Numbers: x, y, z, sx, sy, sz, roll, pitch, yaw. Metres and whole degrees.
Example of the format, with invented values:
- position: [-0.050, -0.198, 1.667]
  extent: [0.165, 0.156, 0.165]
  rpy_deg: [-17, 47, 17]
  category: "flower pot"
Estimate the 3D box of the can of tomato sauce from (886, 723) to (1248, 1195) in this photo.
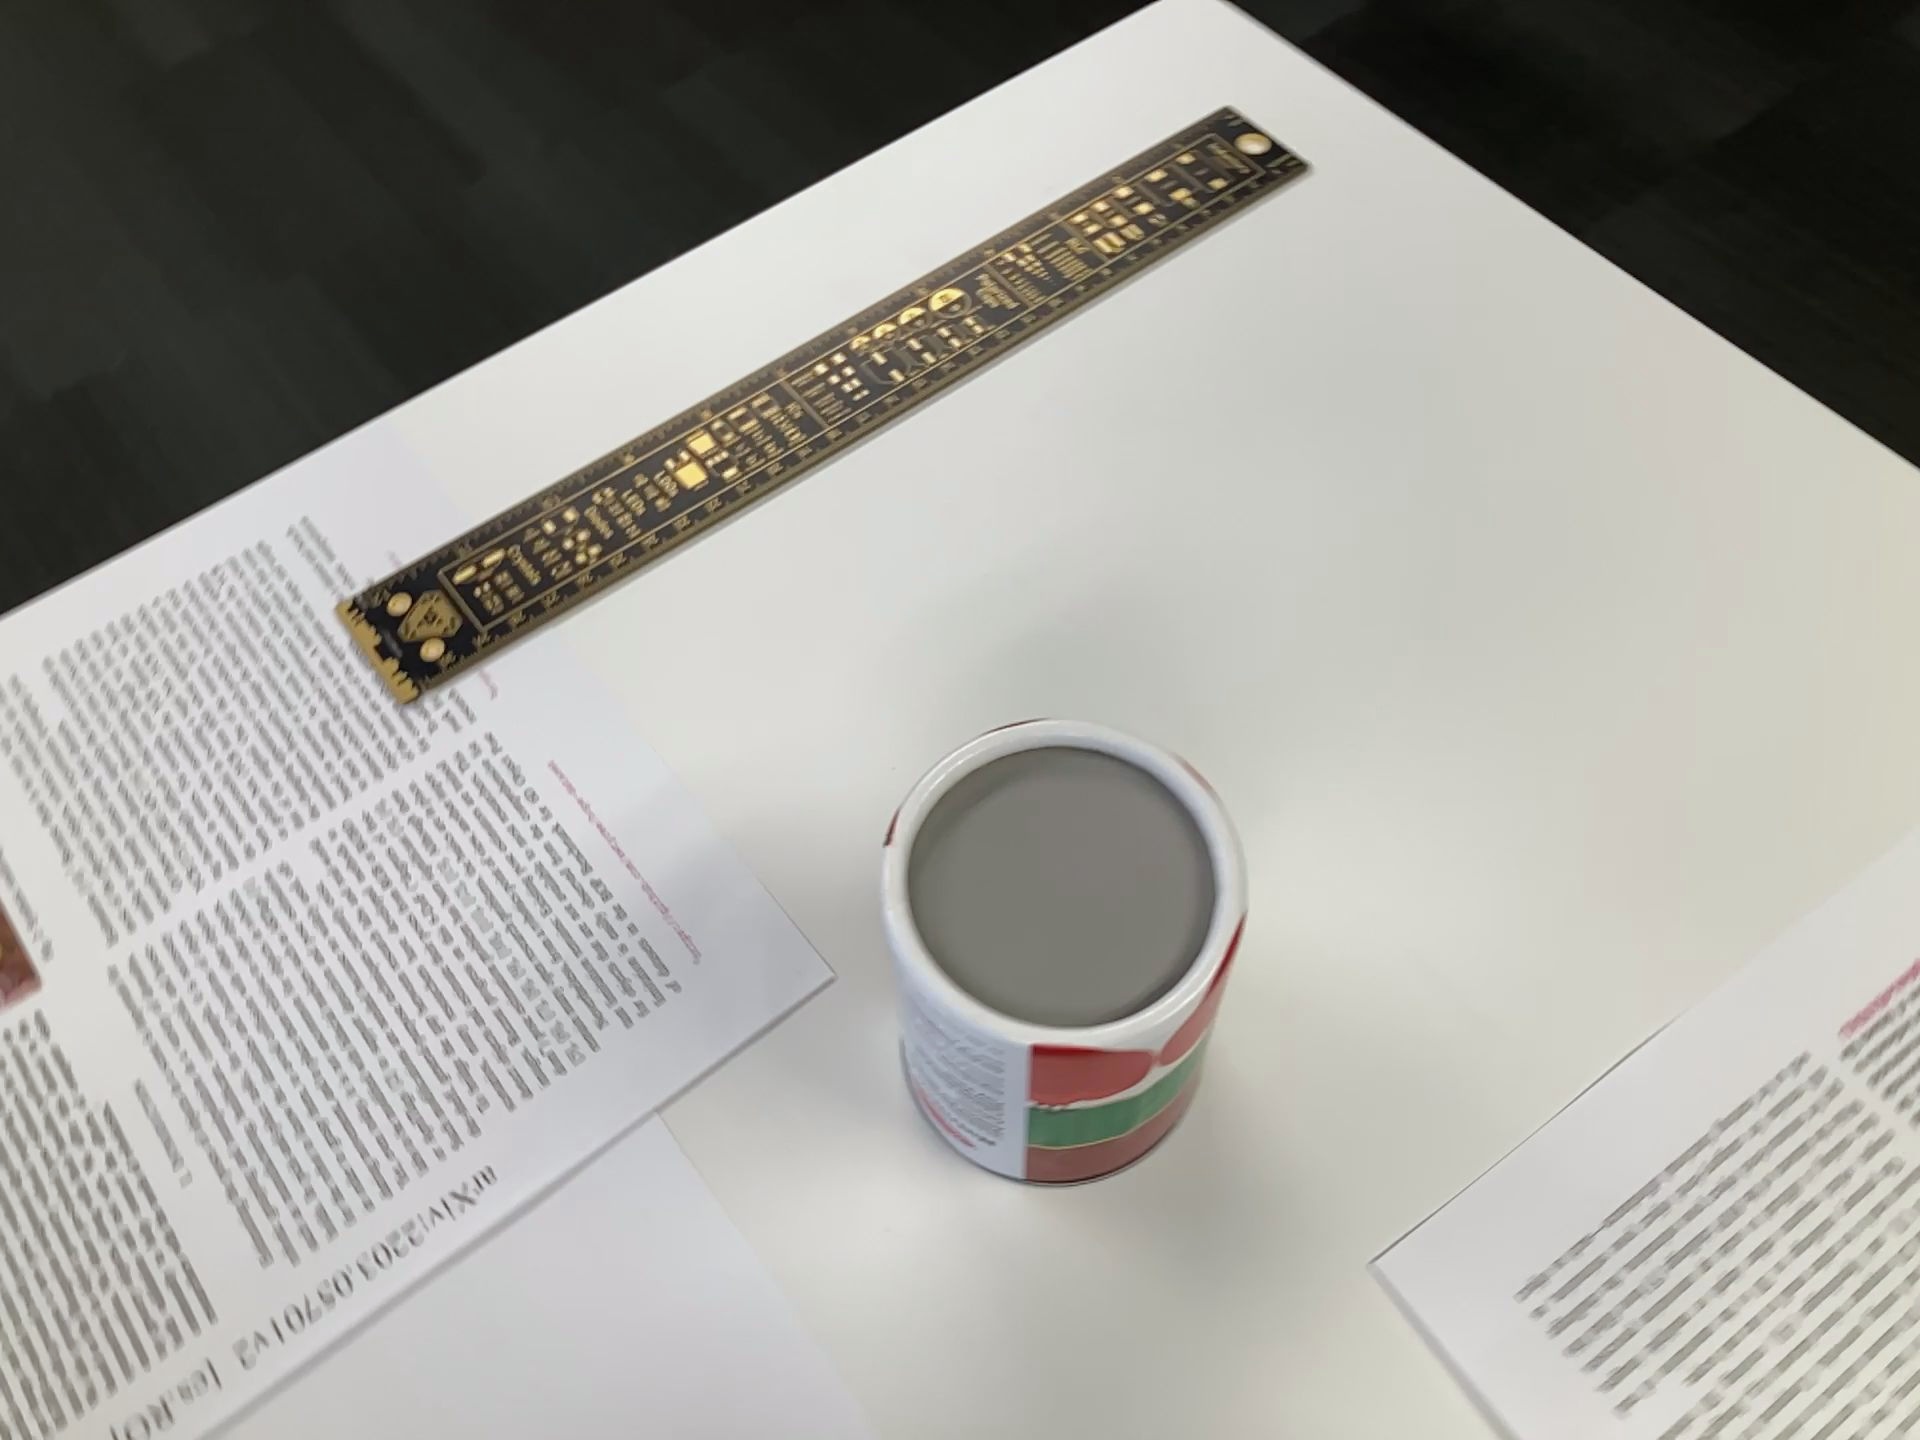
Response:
- position: [0.022, 0.048, 0.319]
  extent: [0.071, 0.083, 0.071]
  rpy_deg: [-1, 56, 2]
  category: "can of tomato sauce"
